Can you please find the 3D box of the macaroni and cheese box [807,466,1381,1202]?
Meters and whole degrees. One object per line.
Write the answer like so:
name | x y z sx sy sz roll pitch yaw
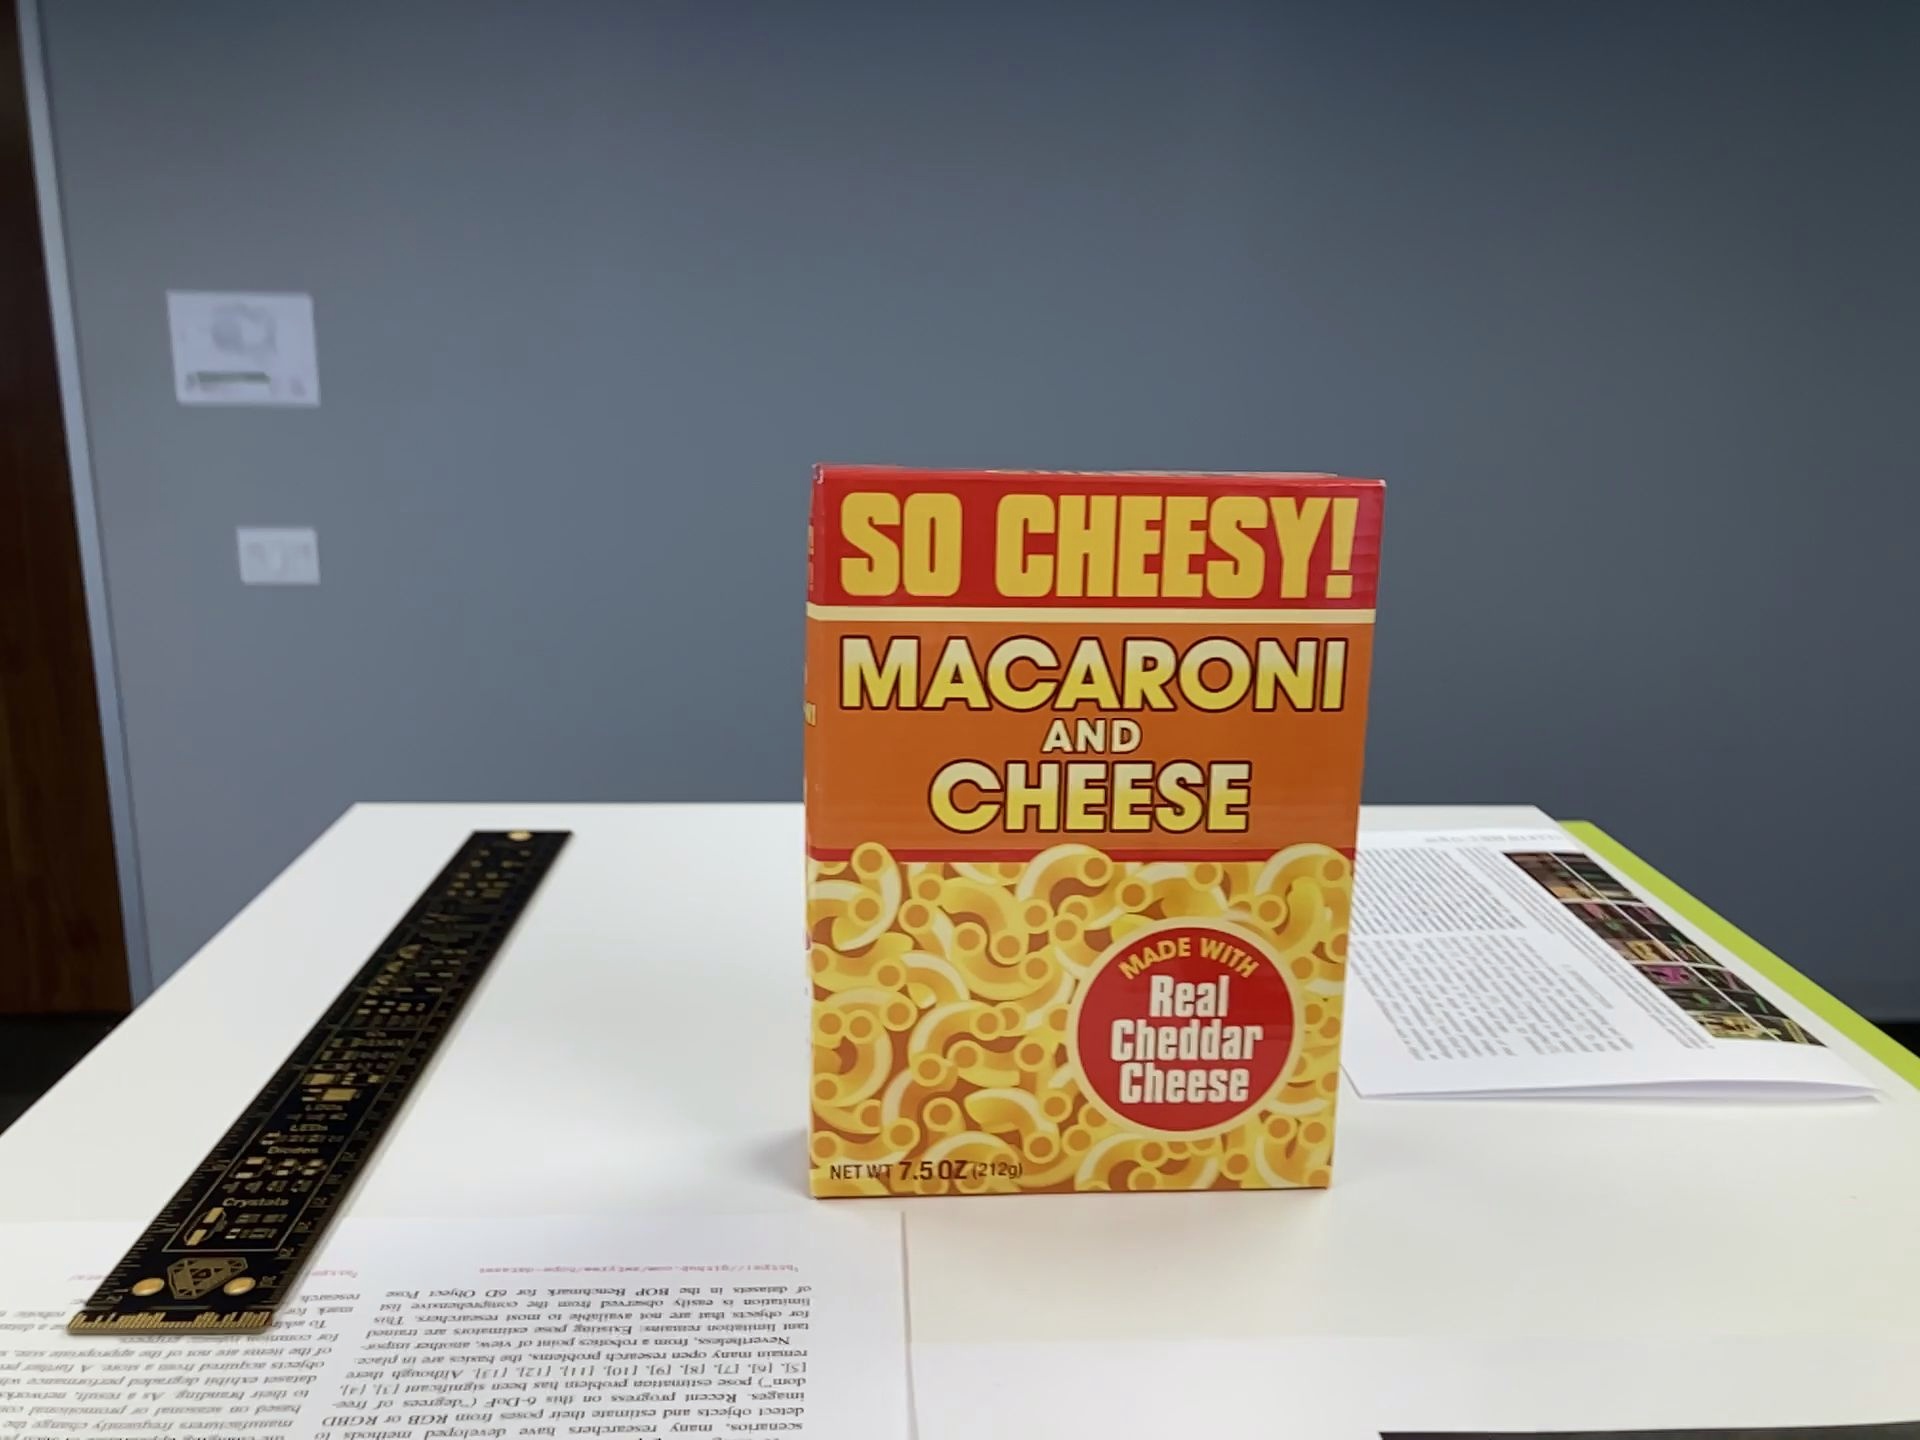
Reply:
macaroni and cheese box | 0.026 0.026 0.370 0.124 0.166 0.040 0 13 -6
